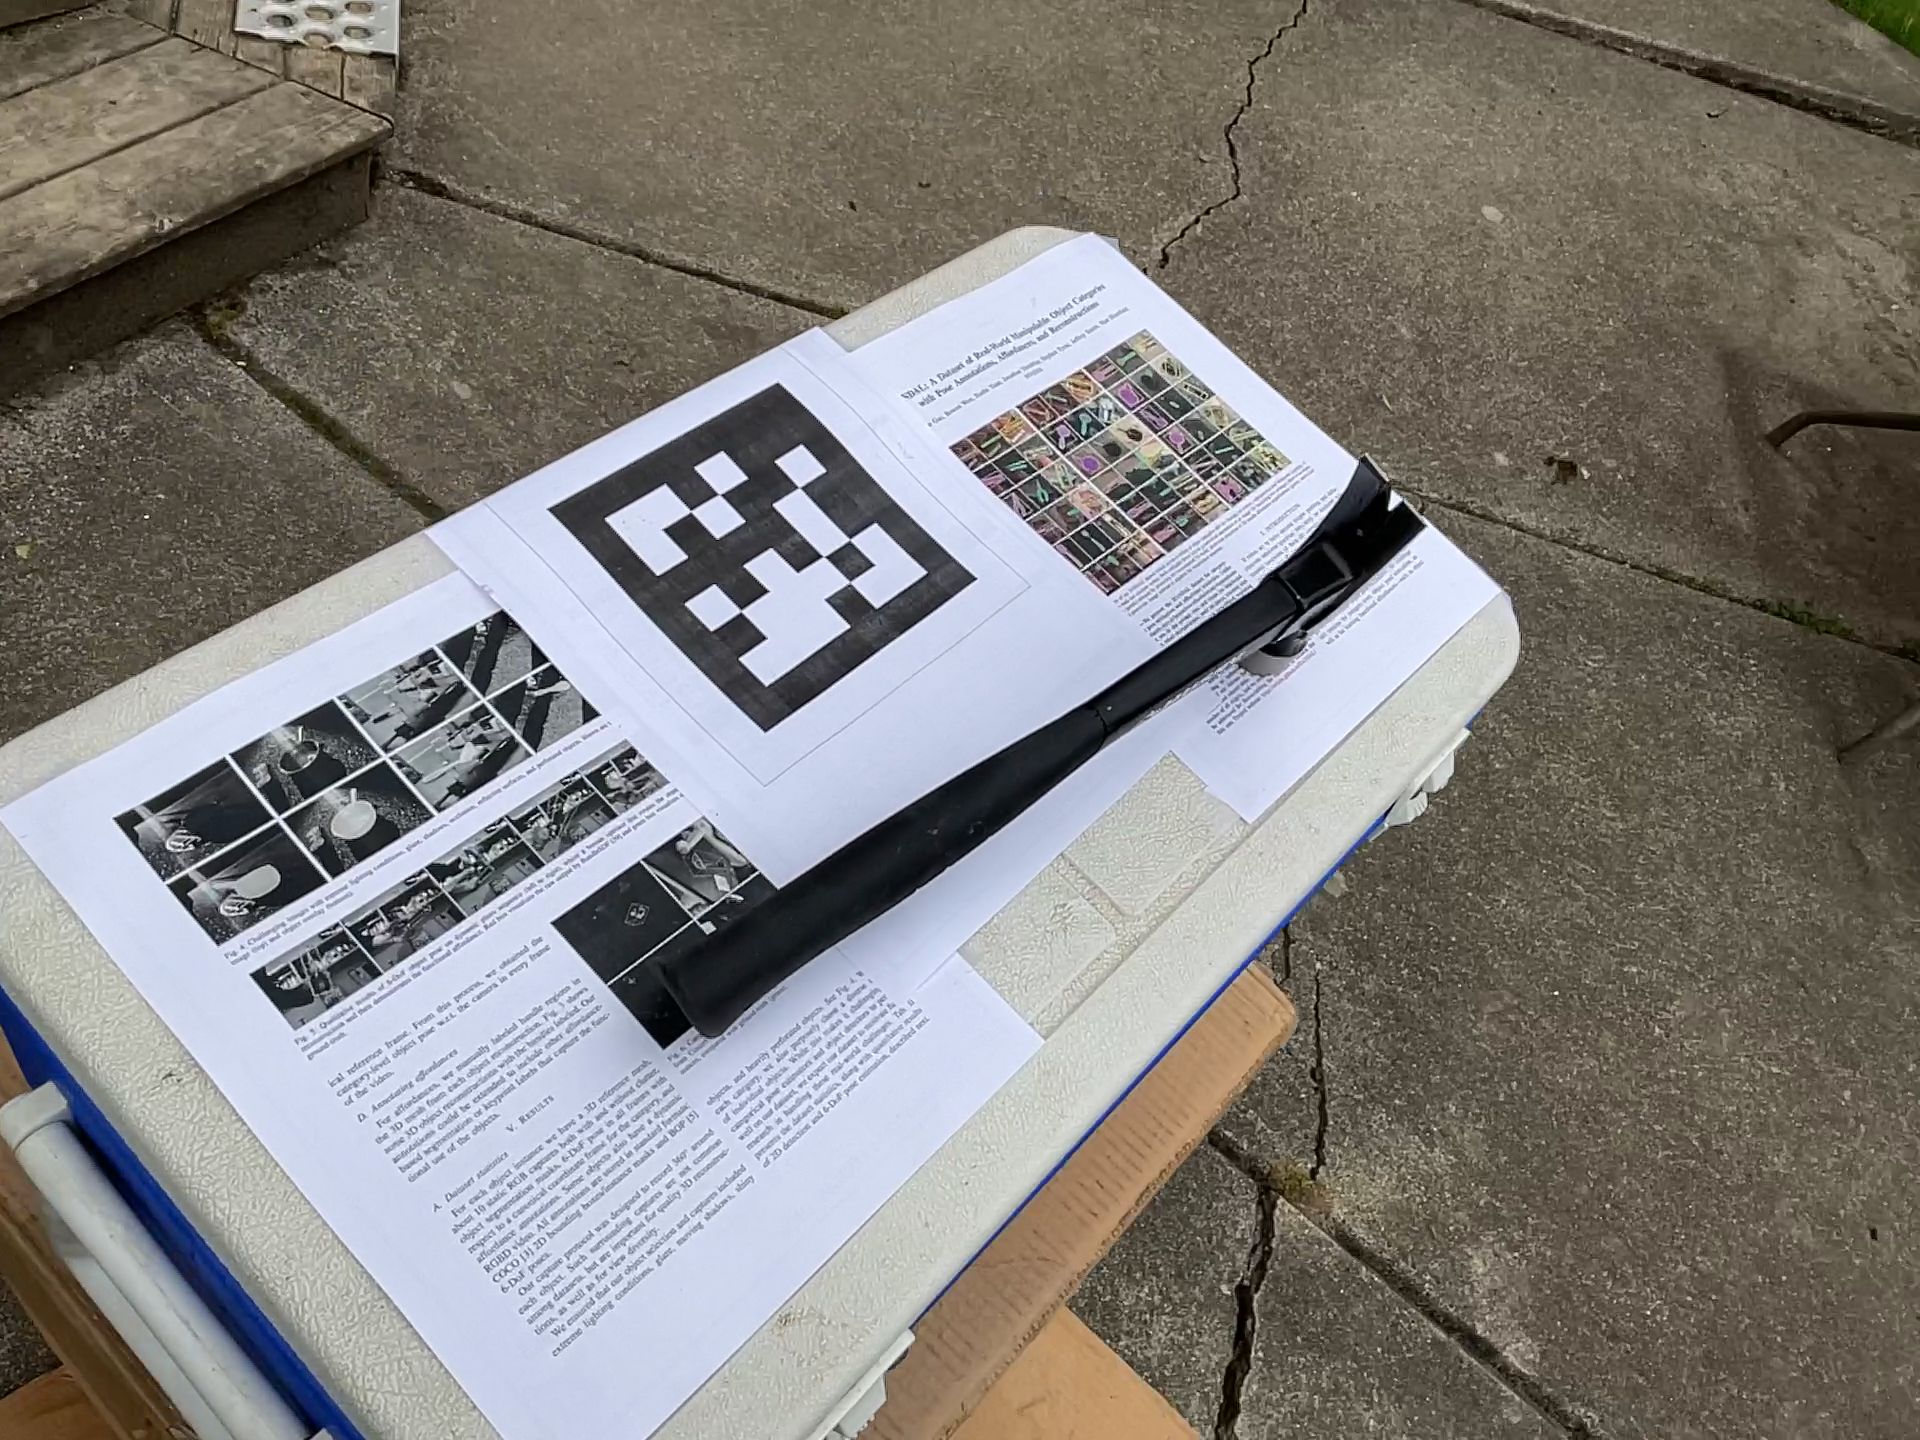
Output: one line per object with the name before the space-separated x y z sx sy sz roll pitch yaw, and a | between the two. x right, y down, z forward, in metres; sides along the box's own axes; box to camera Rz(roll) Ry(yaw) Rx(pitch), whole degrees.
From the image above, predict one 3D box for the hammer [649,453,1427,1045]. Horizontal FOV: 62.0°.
hammer | 0.035 0.011 0.577 0.334 0.146 0.035 -32 78 -25
